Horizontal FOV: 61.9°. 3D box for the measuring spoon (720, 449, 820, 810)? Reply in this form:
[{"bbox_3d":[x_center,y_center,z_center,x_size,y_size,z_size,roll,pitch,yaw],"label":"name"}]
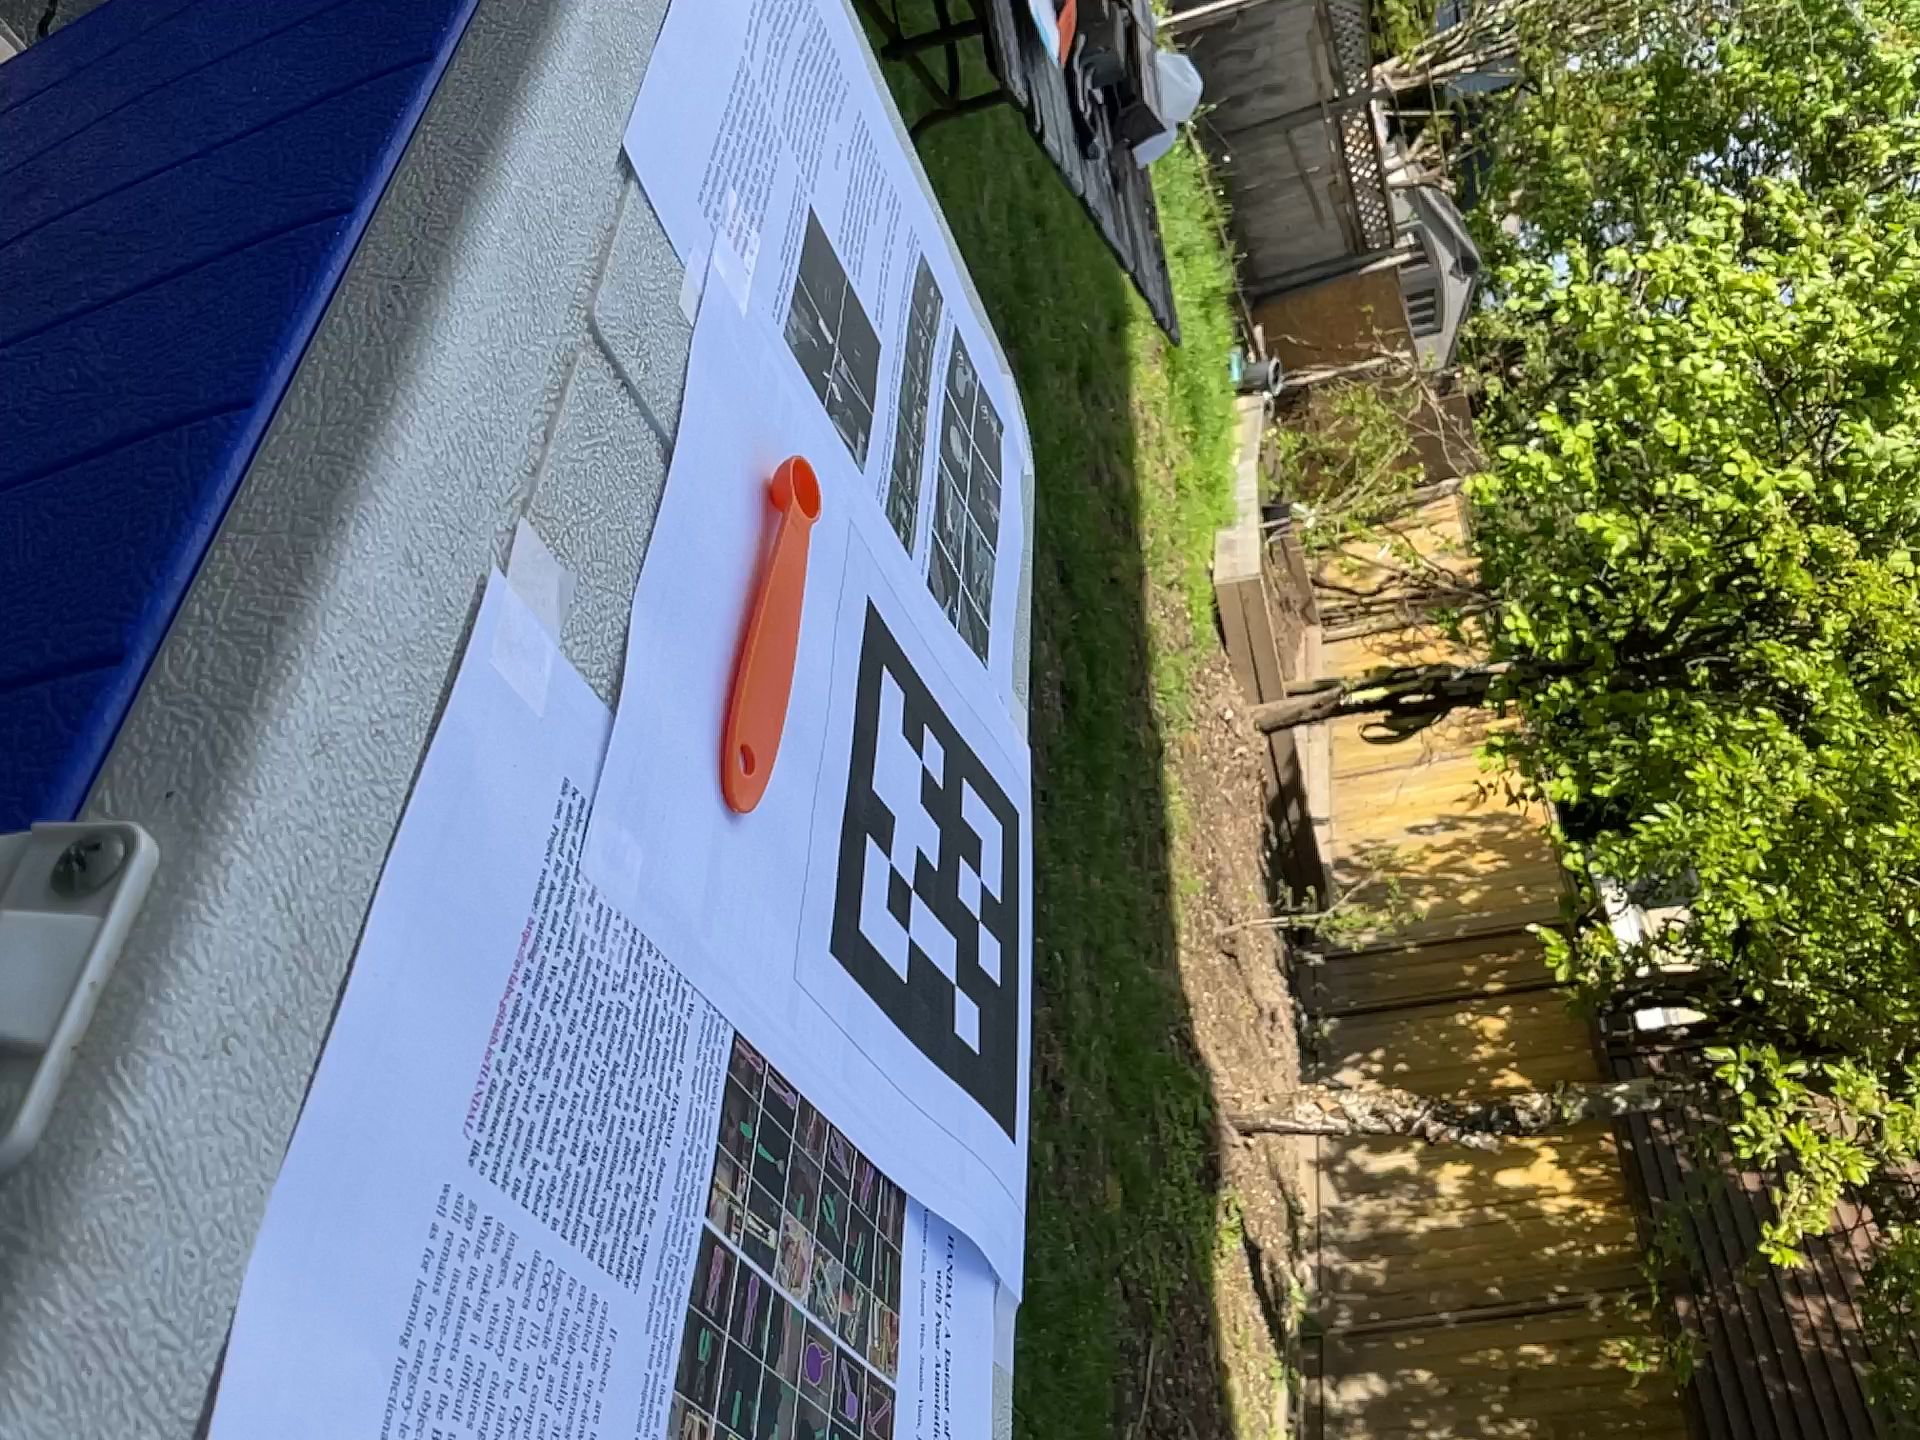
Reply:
[{"bbox_3d":[-0.052,-0.026,0.416,0.021,0.011,0.117,58,30,-47],"label":"measuring spoon"}]
